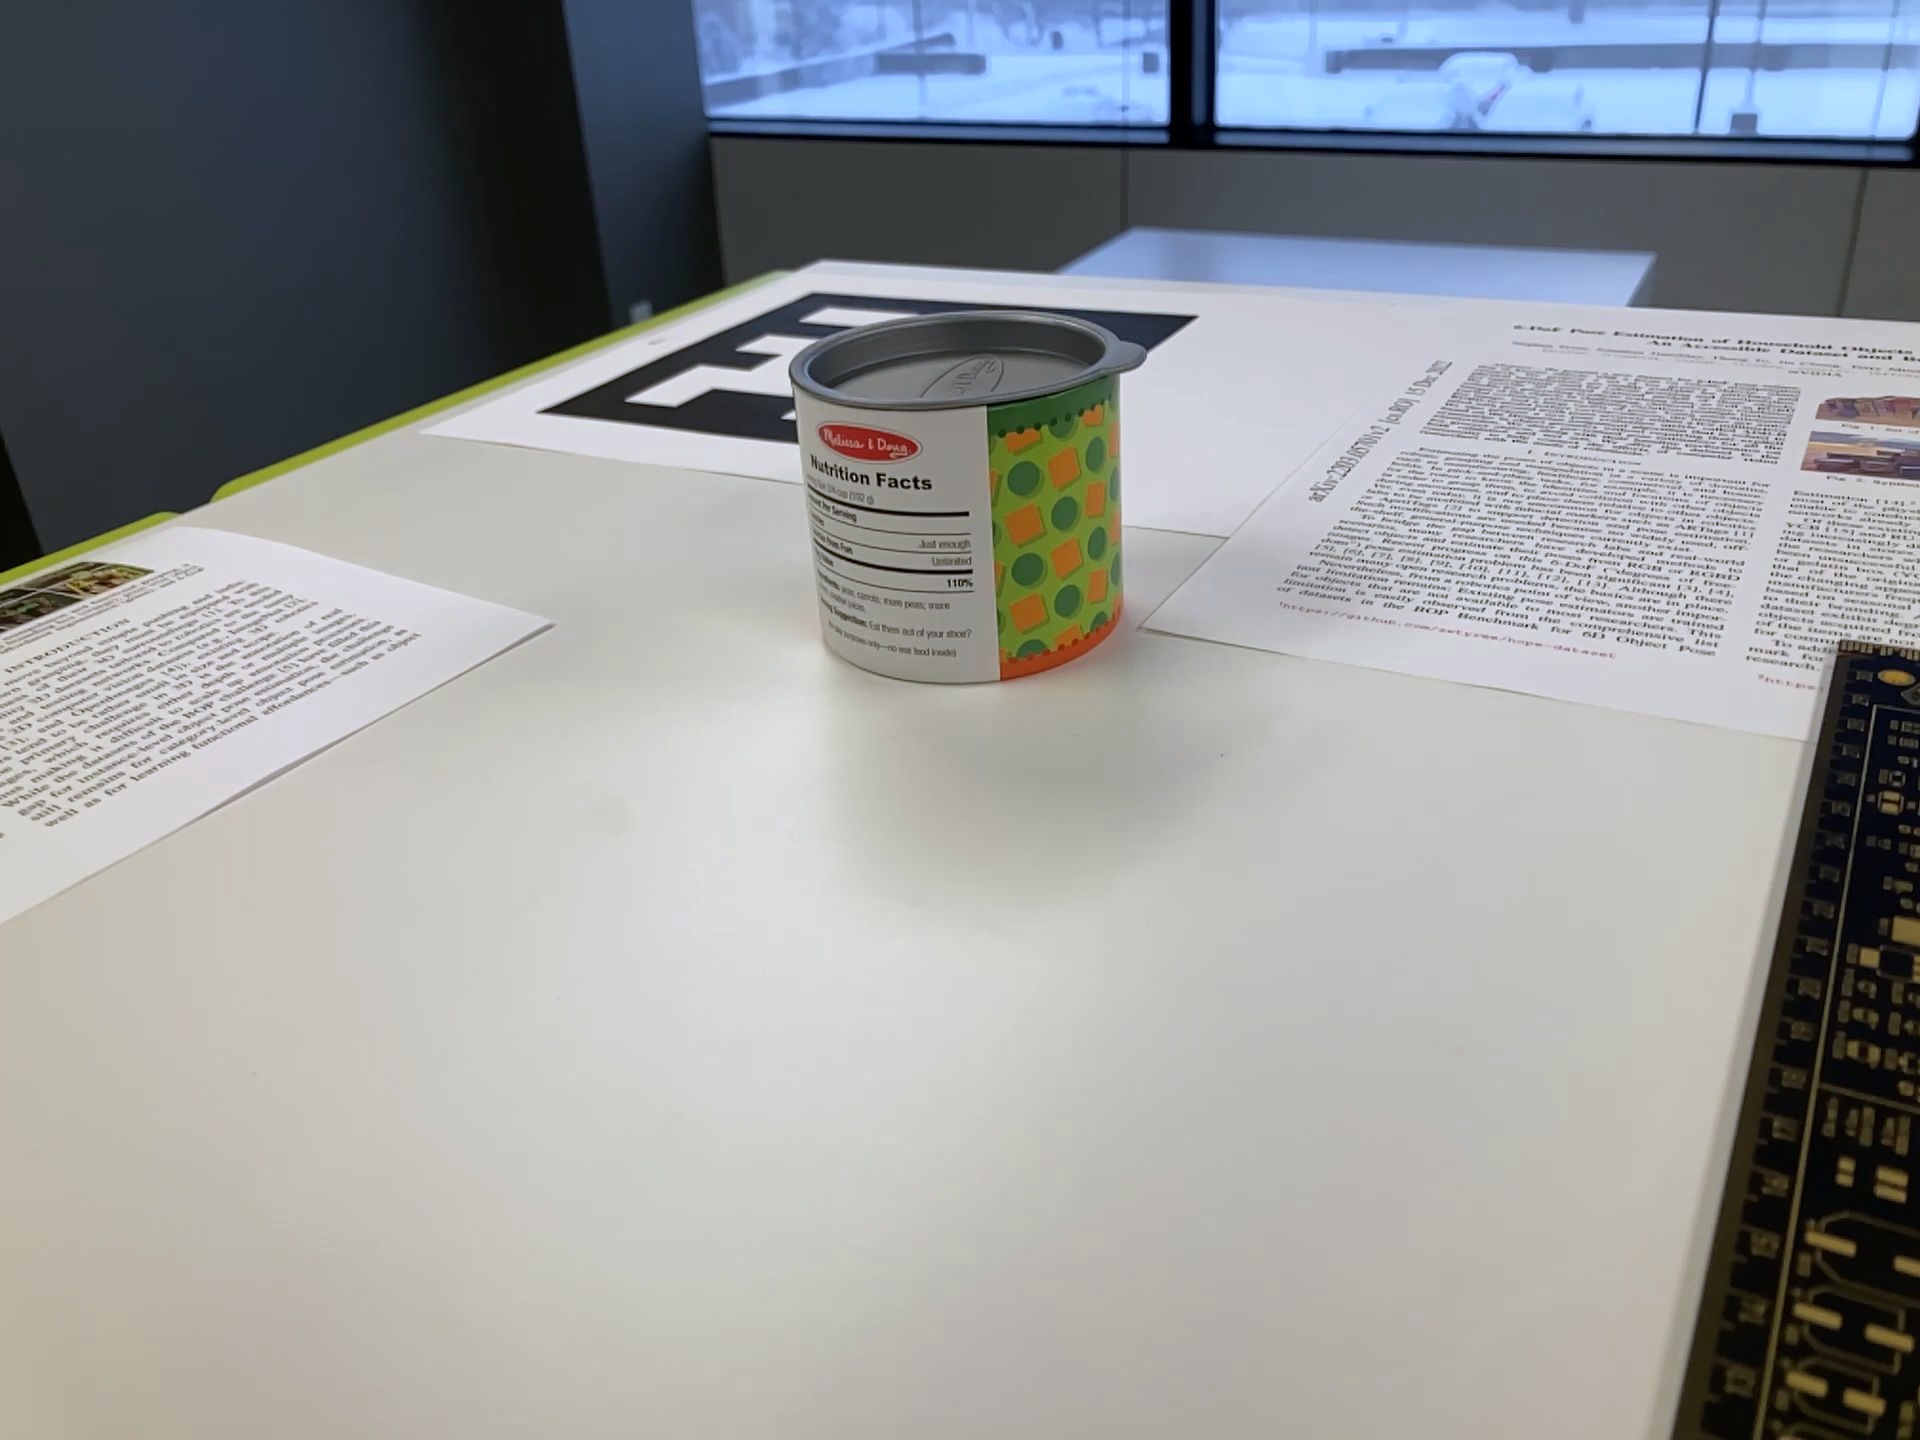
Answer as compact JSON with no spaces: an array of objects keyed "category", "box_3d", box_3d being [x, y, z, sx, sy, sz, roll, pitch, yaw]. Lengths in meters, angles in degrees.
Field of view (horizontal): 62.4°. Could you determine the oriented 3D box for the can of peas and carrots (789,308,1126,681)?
[{"category":"can of peas and carrots","box_3d":[0.003,-0.049,0.330,0.071,0.059,0.071,-3,28,2]}]
